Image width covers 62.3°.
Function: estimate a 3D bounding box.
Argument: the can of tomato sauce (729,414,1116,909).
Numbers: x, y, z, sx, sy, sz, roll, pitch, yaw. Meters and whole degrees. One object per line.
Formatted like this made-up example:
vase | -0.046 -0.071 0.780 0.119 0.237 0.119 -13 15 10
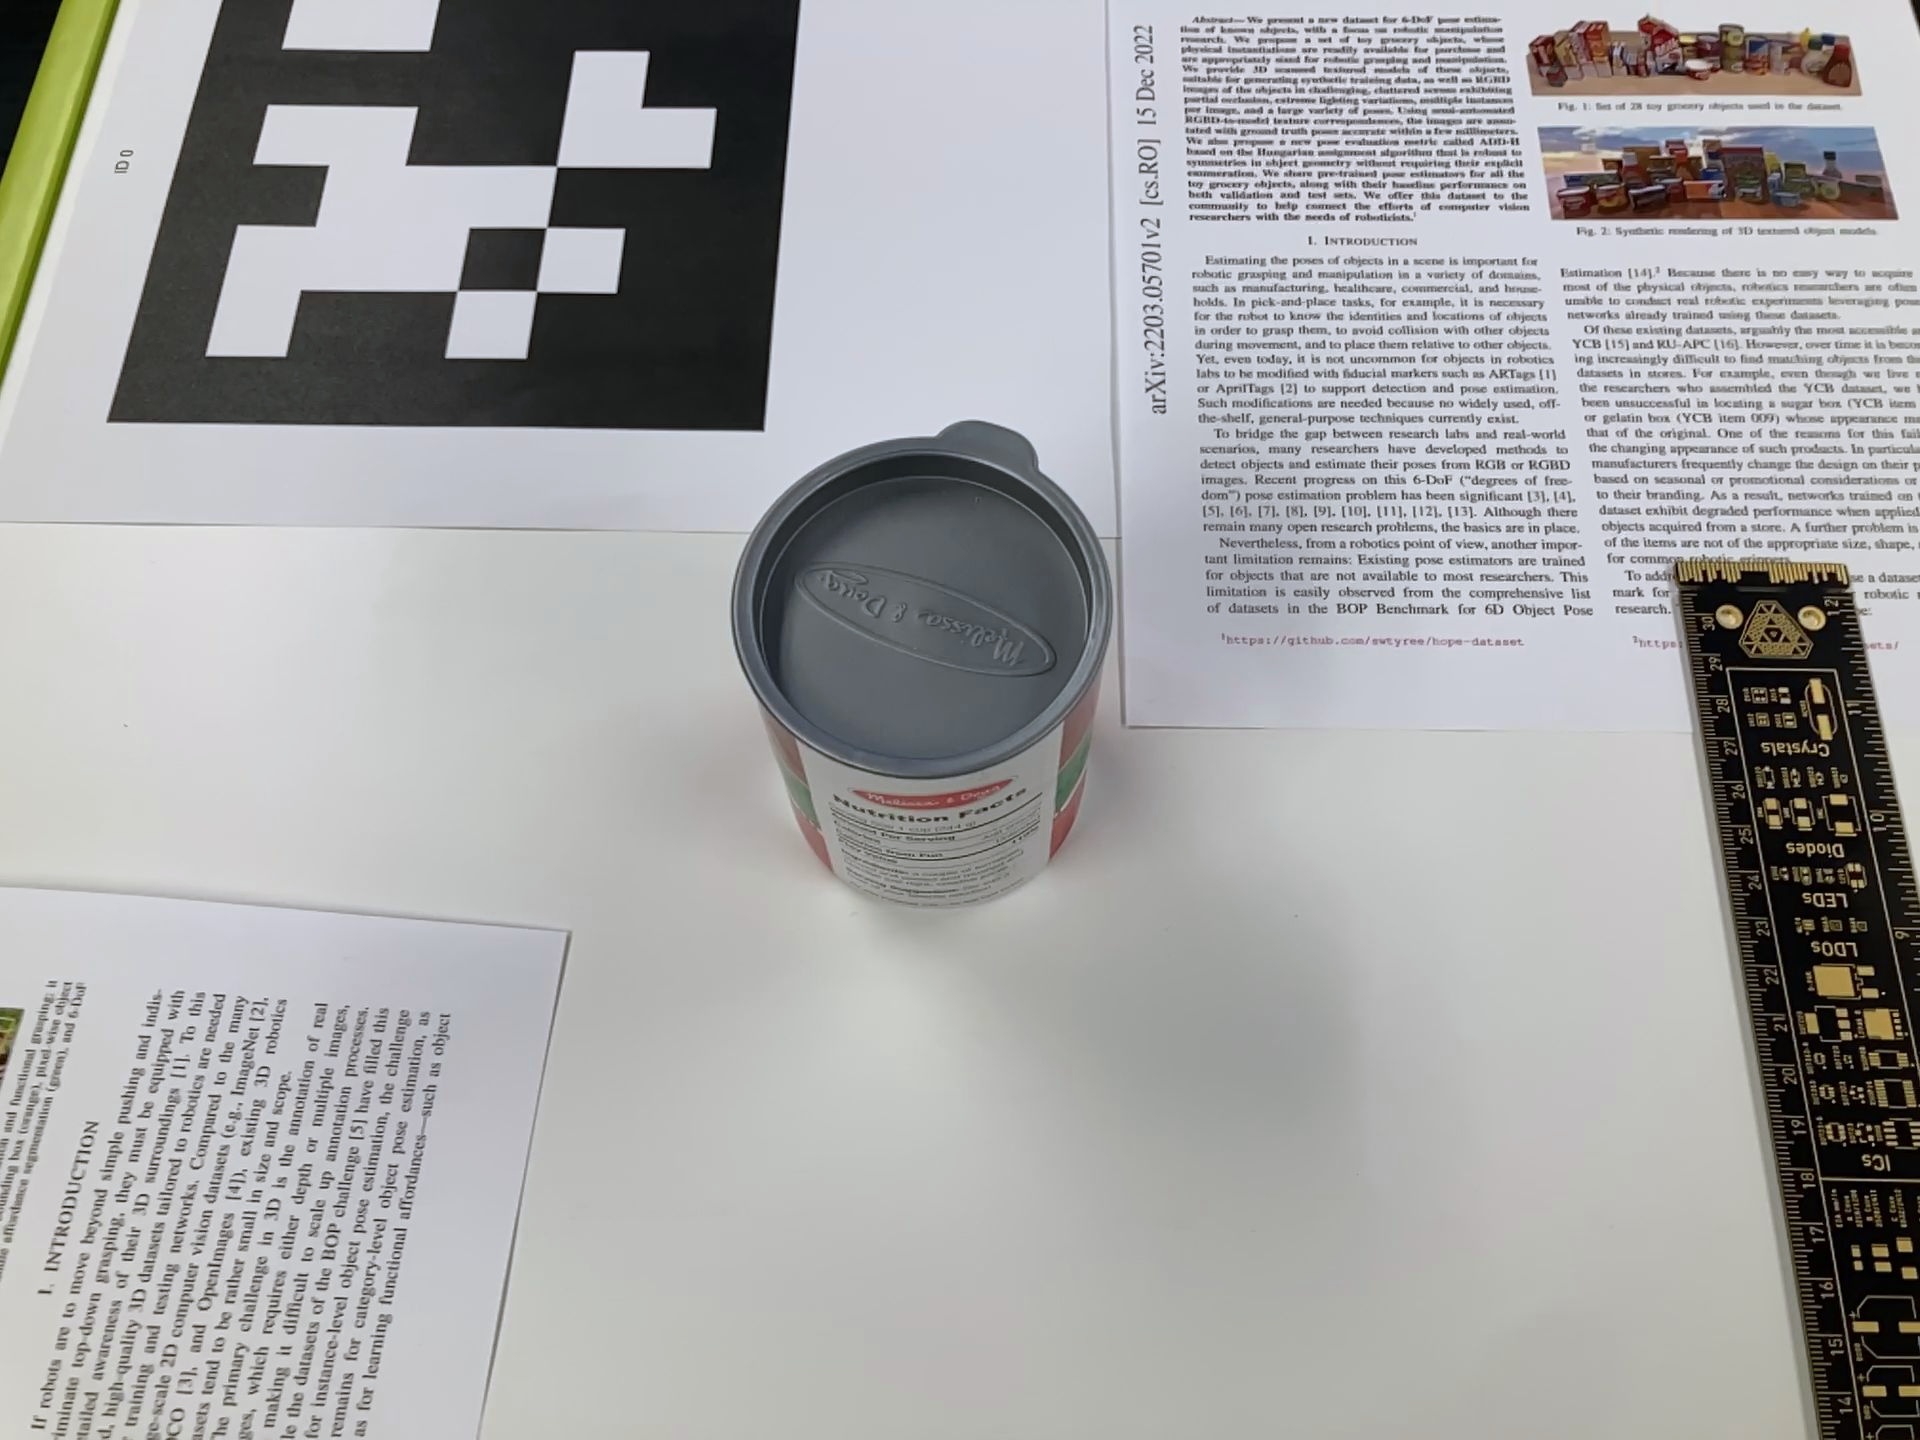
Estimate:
can of tomato sauce | -0.006 -0.008 0.312 0.071 0.083 0.071 0 67 1
